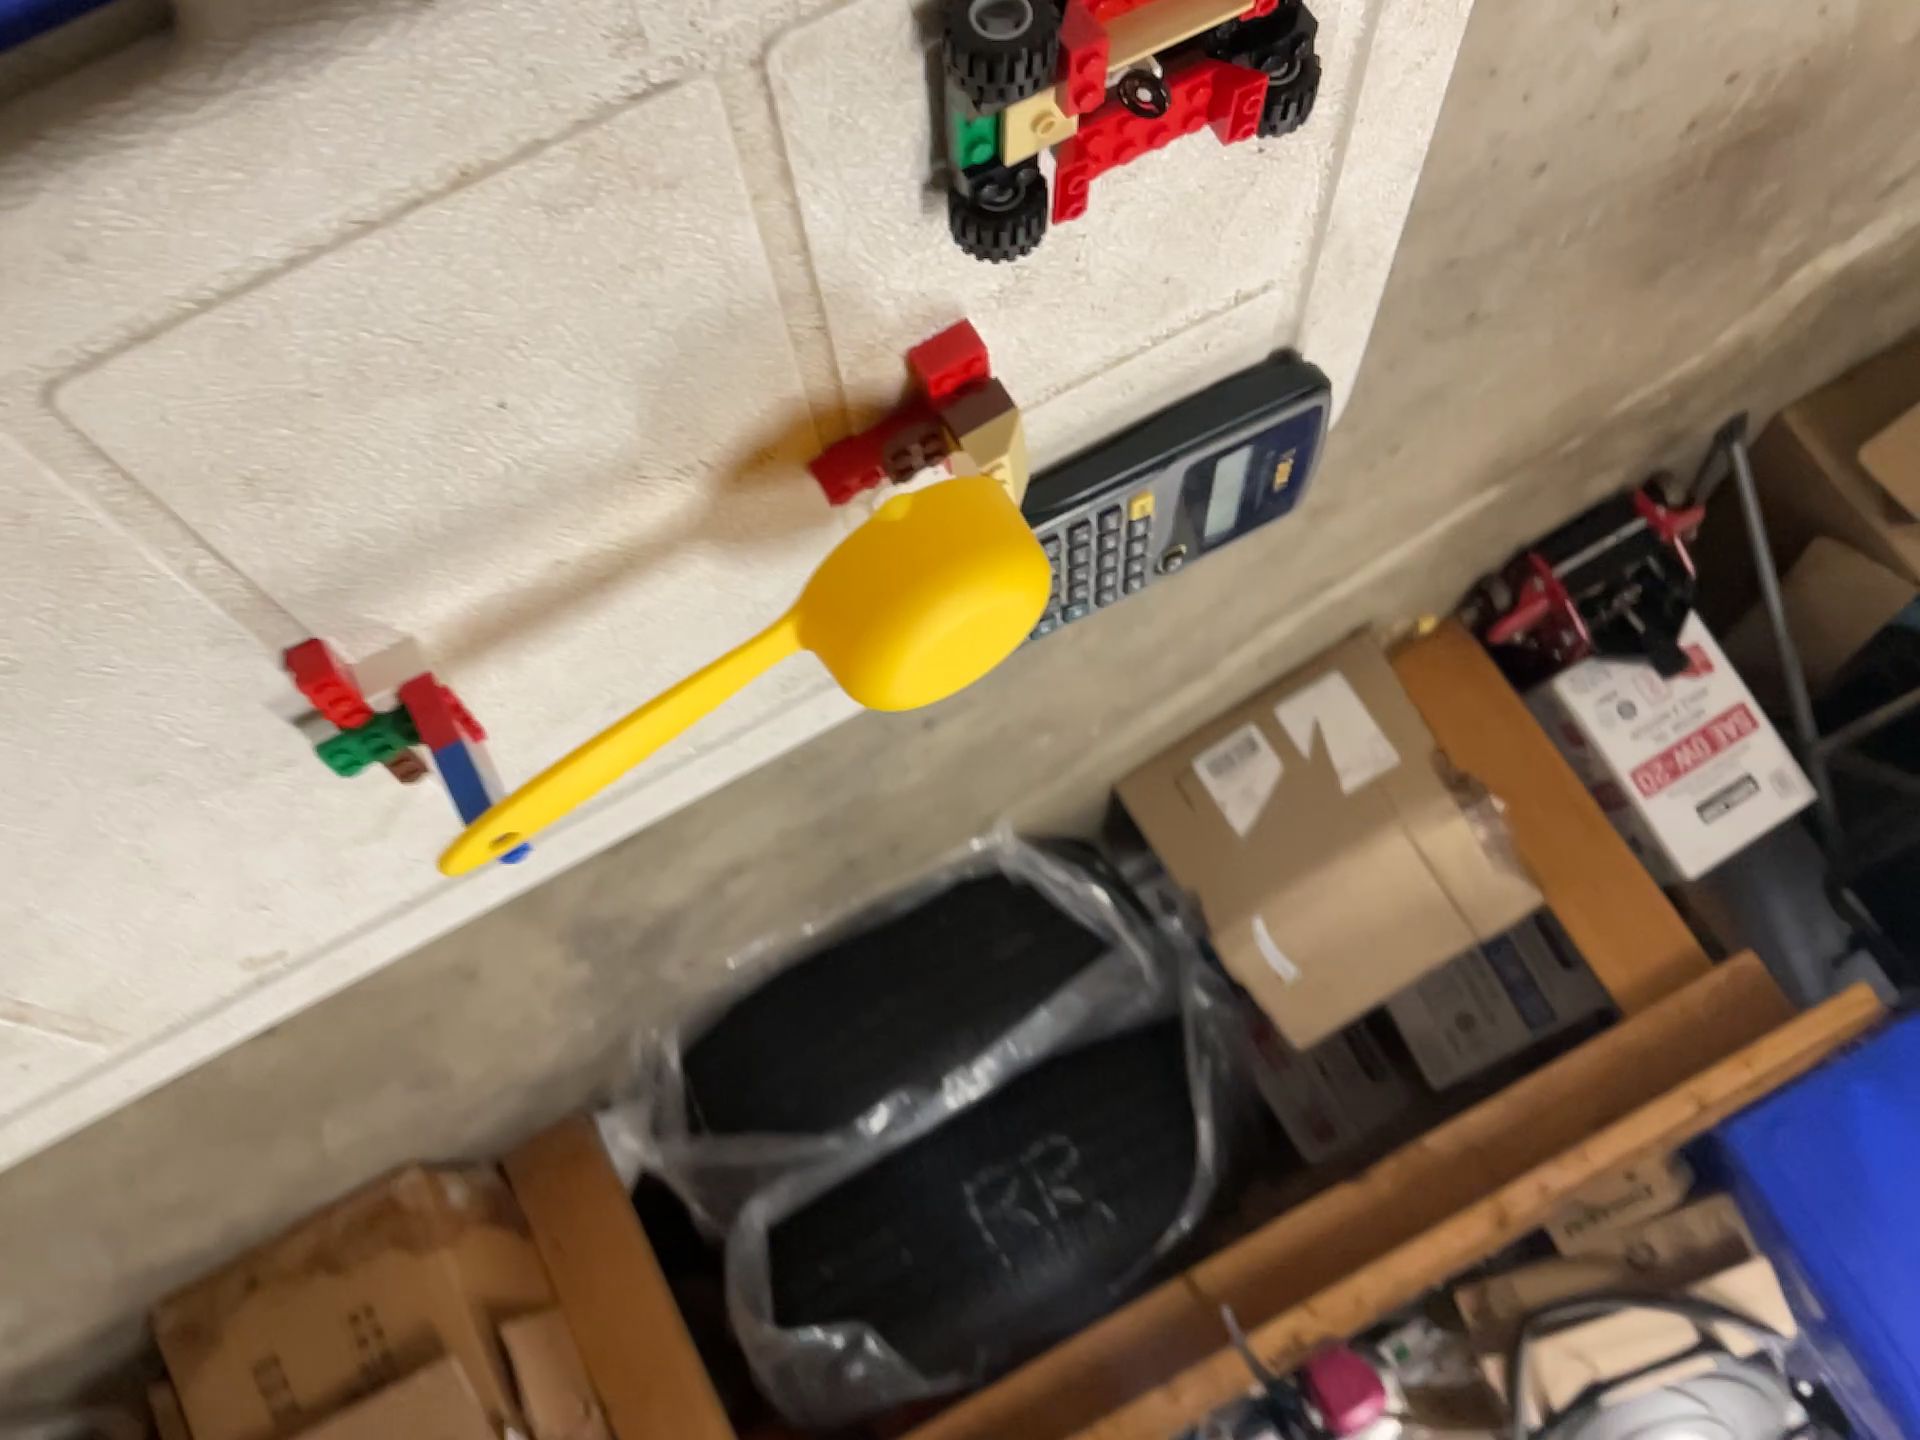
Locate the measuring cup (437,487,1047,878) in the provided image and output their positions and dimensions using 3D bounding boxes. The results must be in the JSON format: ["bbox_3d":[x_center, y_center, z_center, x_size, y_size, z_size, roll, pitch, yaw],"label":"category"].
[{"bbox_3d":[-0.047,0.001,0.371,0.156,0.029,0.062,-33,162,-9],"label":"measuring cup"}]
